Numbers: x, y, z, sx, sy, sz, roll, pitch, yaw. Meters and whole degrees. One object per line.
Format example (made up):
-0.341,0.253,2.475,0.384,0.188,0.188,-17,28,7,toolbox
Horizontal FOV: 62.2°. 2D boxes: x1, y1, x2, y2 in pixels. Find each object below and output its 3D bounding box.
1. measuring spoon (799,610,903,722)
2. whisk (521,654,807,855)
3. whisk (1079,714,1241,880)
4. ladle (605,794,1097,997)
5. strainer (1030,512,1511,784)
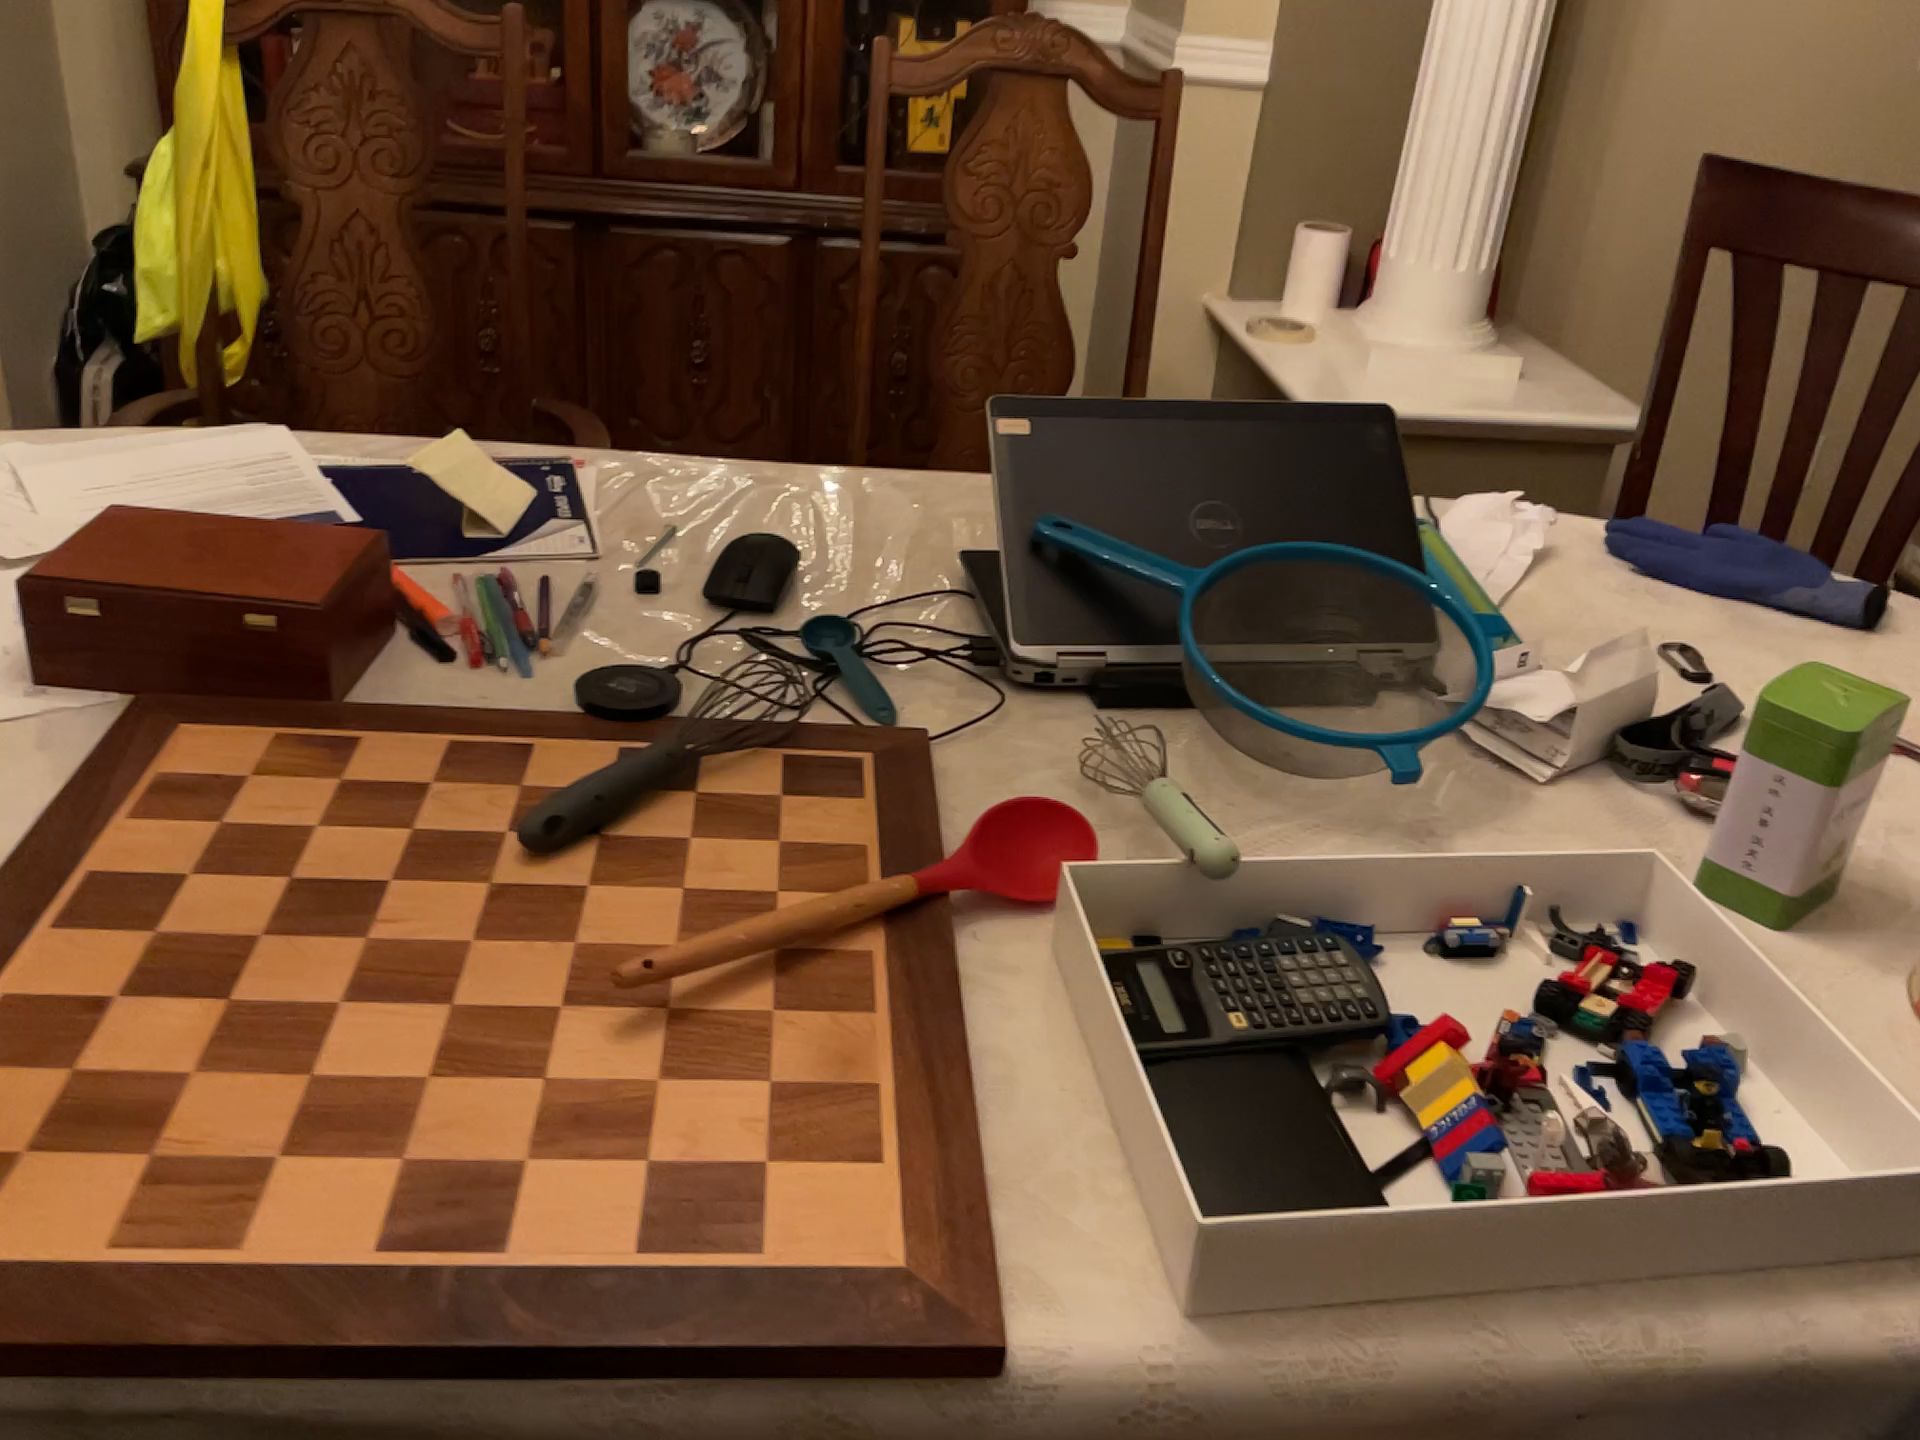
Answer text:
-0.075,-0.033,1.130,0.042,0.021,0.129,-18,48,-24,measuring spoon
-0.172,0.020,0.956,0.055,0.055,0.239,8,29,35,whisk
0.119,0.043,0.948,0.059,0.057,0.246,-29,18,-1,whisk
-0.048,0.097,0.847,0.315,0.031,0.069,-14,55,-40,ladle
0.194,-0.051,1.119,0.341,0.095,0.211,25,46,23,strainer
